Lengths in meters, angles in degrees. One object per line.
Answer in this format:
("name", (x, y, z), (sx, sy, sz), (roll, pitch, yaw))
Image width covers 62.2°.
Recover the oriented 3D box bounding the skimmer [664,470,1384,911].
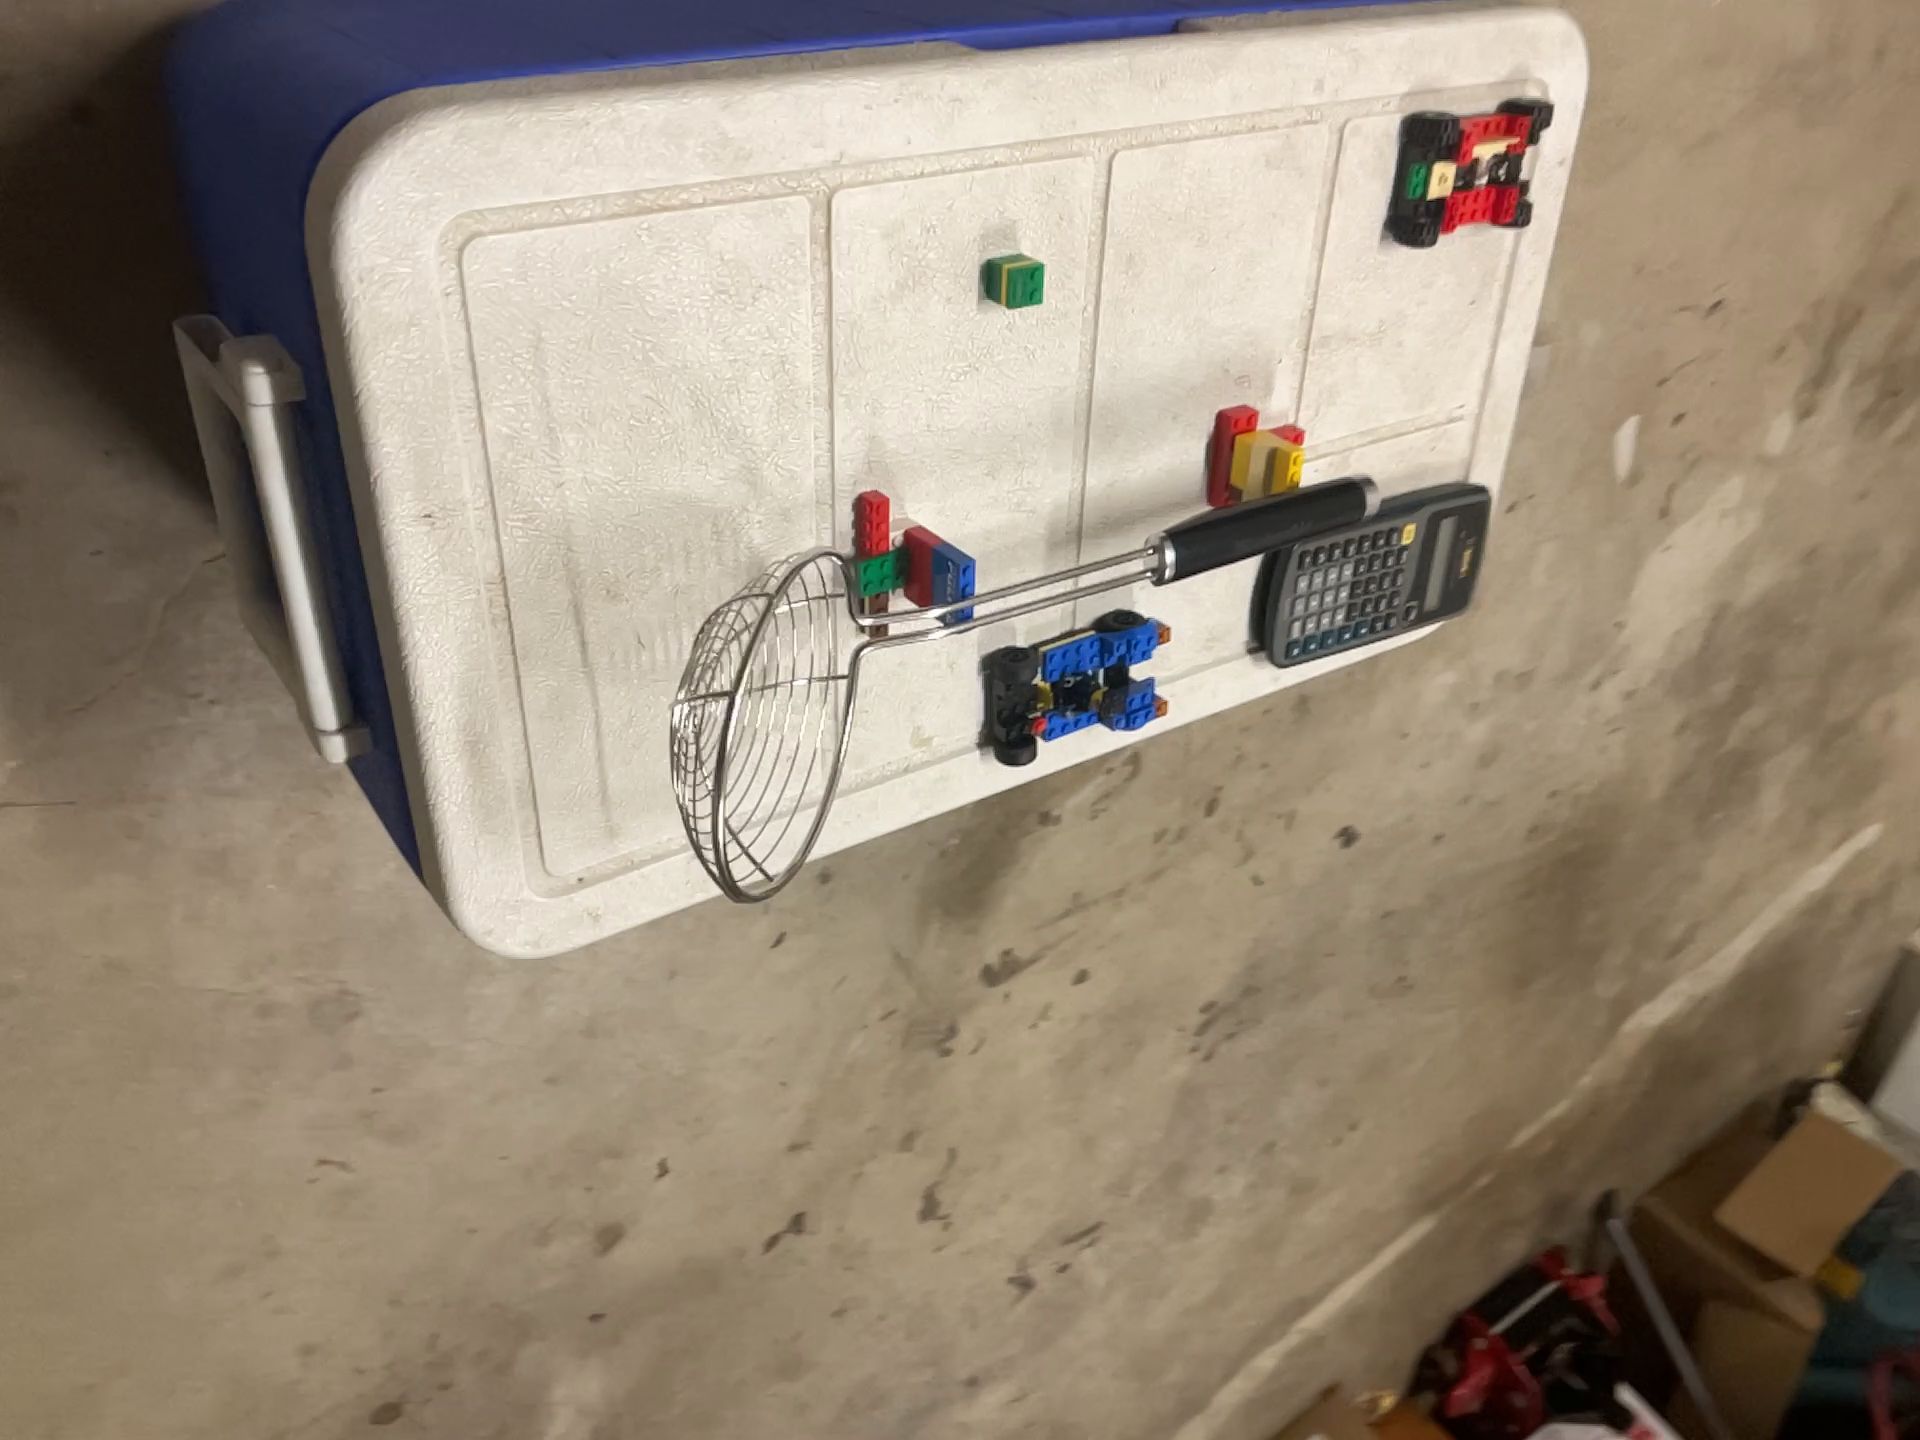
("skimmer", (0.049, -0.036, 0.613), (0.363, 0.090, 0.127), (-19, 129, -28))
